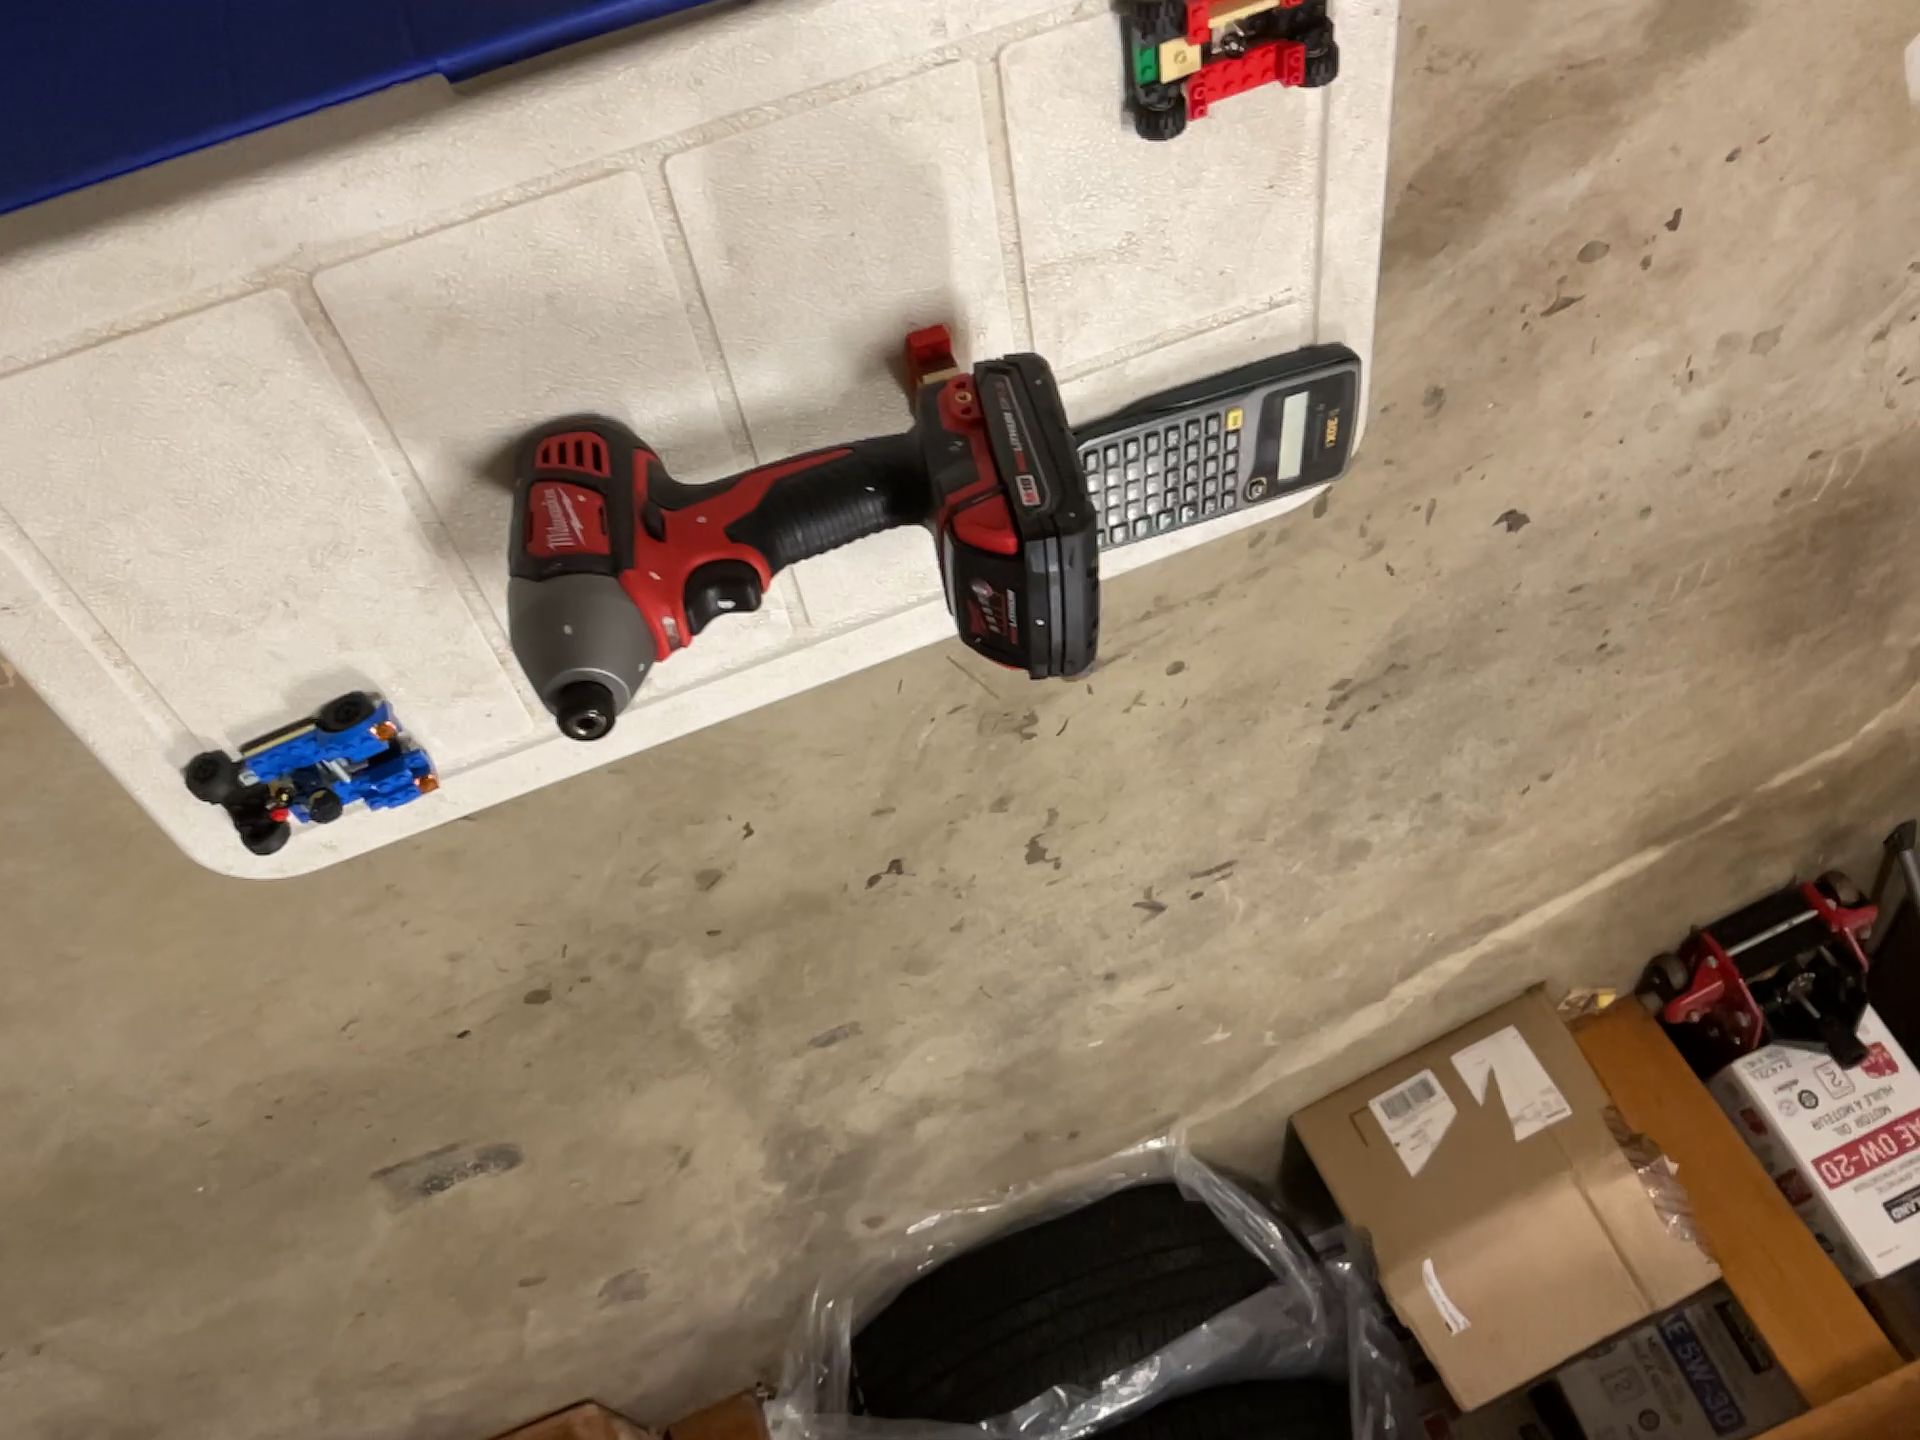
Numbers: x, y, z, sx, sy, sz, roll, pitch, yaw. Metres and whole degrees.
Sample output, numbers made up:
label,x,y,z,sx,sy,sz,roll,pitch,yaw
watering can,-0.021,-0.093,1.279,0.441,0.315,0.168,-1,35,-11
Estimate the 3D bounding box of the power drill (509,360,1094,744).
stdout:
label,x,y,z,sx,sy,sz,roll,pitch,yaw
power drill,-0.064,-0.062,0.617,0.219,0.143,0.078,-8,140,-2
